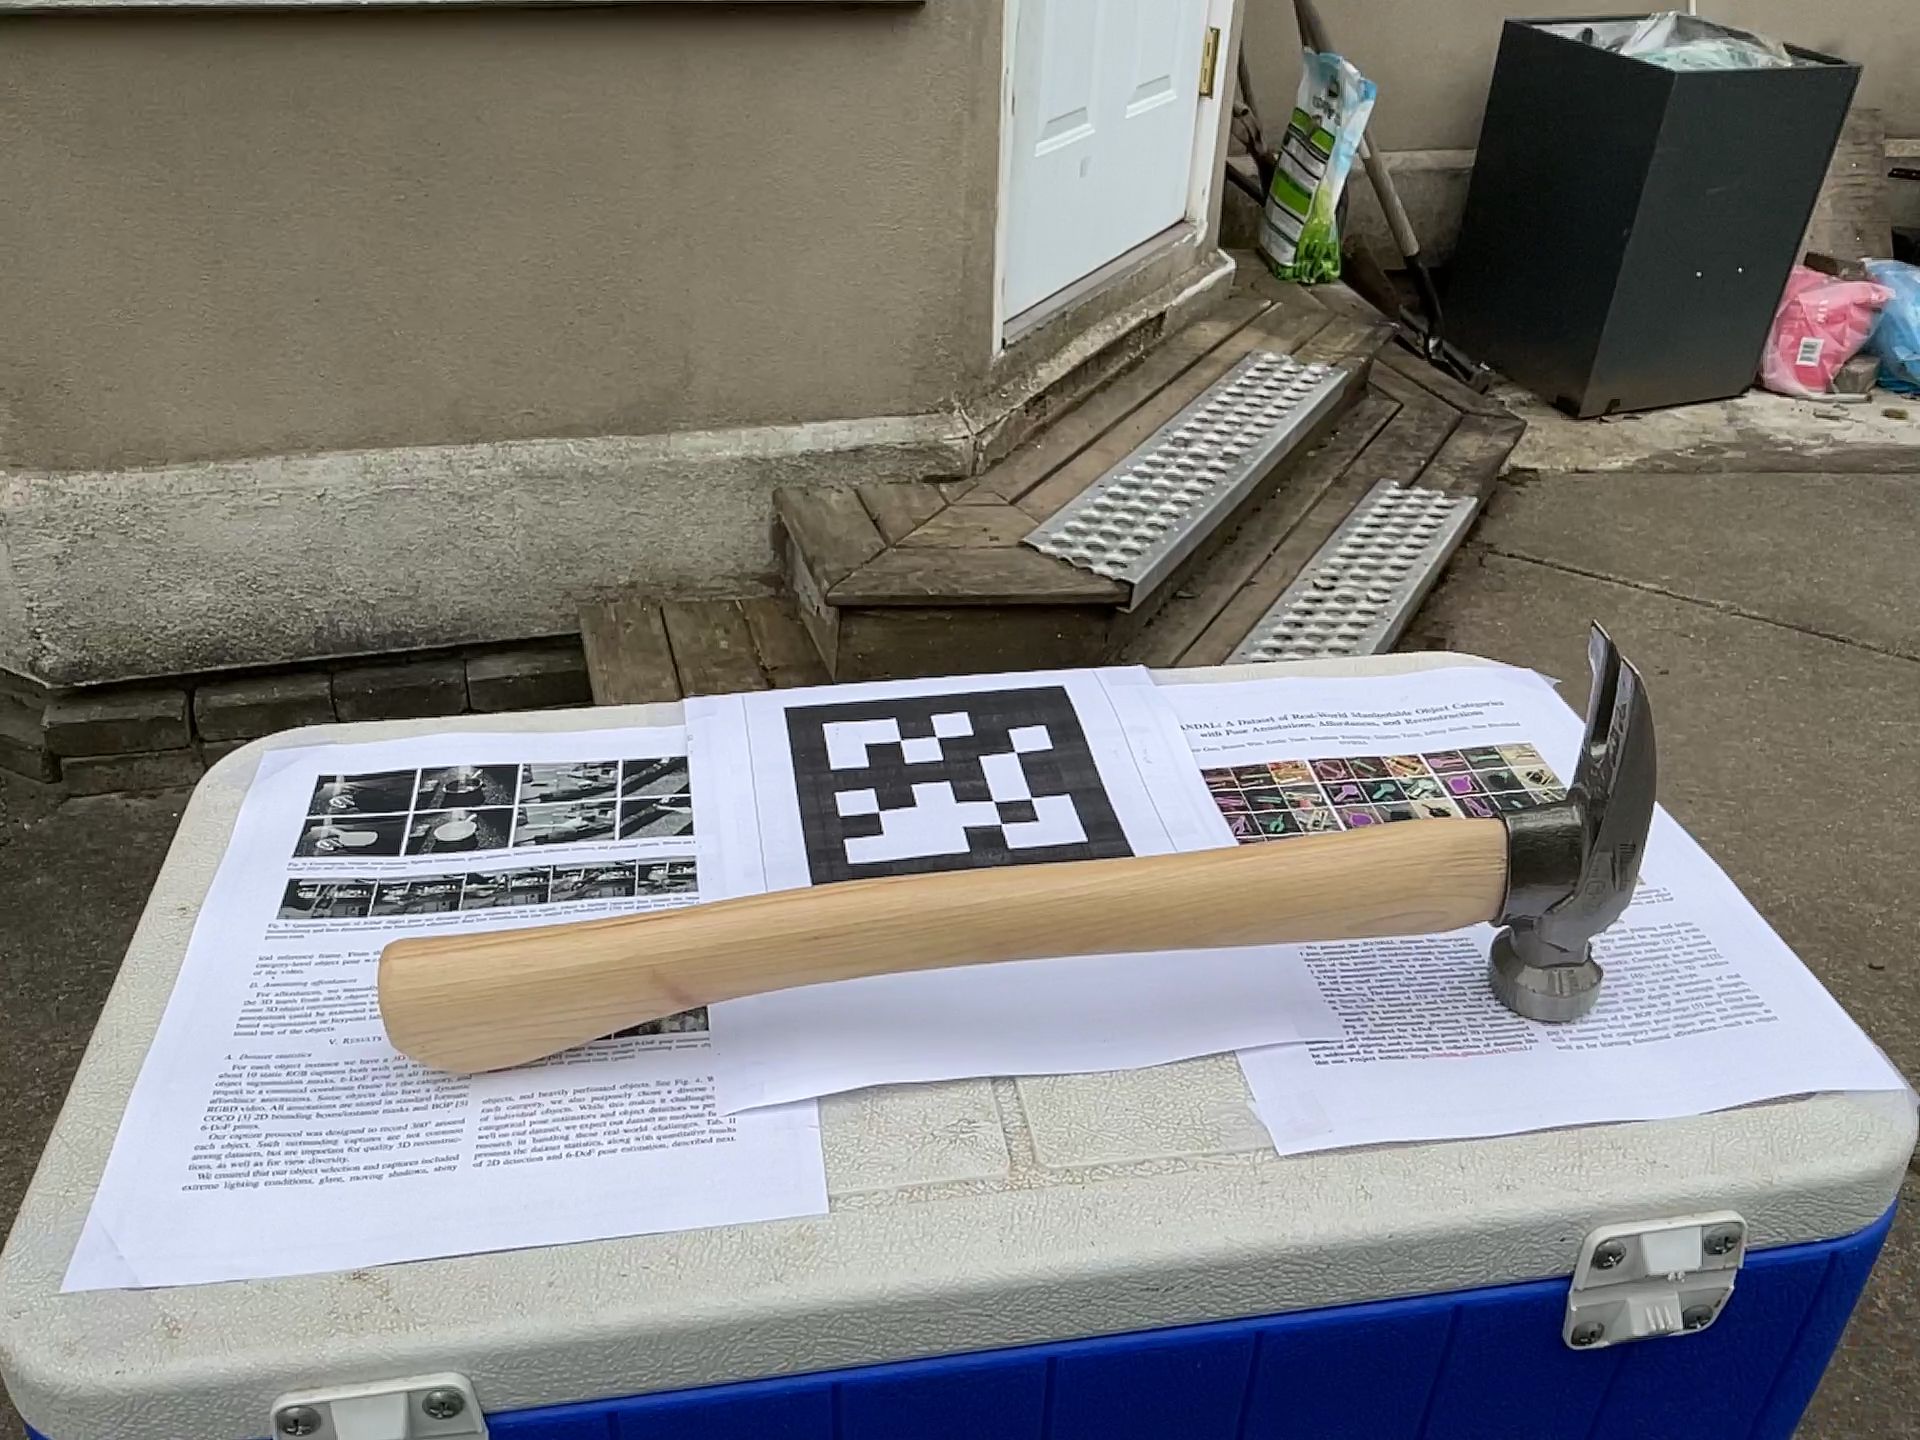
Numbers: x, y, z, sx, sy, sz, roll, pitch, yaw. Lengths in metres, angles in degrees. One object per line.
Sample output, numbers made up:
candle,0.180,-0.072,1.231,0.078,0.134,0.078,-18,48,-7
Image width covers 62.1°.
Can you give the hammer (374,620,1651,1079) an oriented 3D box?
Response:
hammer,0.018,0.058,0.521,0.410,0.146,0.038,-6,34,-4
